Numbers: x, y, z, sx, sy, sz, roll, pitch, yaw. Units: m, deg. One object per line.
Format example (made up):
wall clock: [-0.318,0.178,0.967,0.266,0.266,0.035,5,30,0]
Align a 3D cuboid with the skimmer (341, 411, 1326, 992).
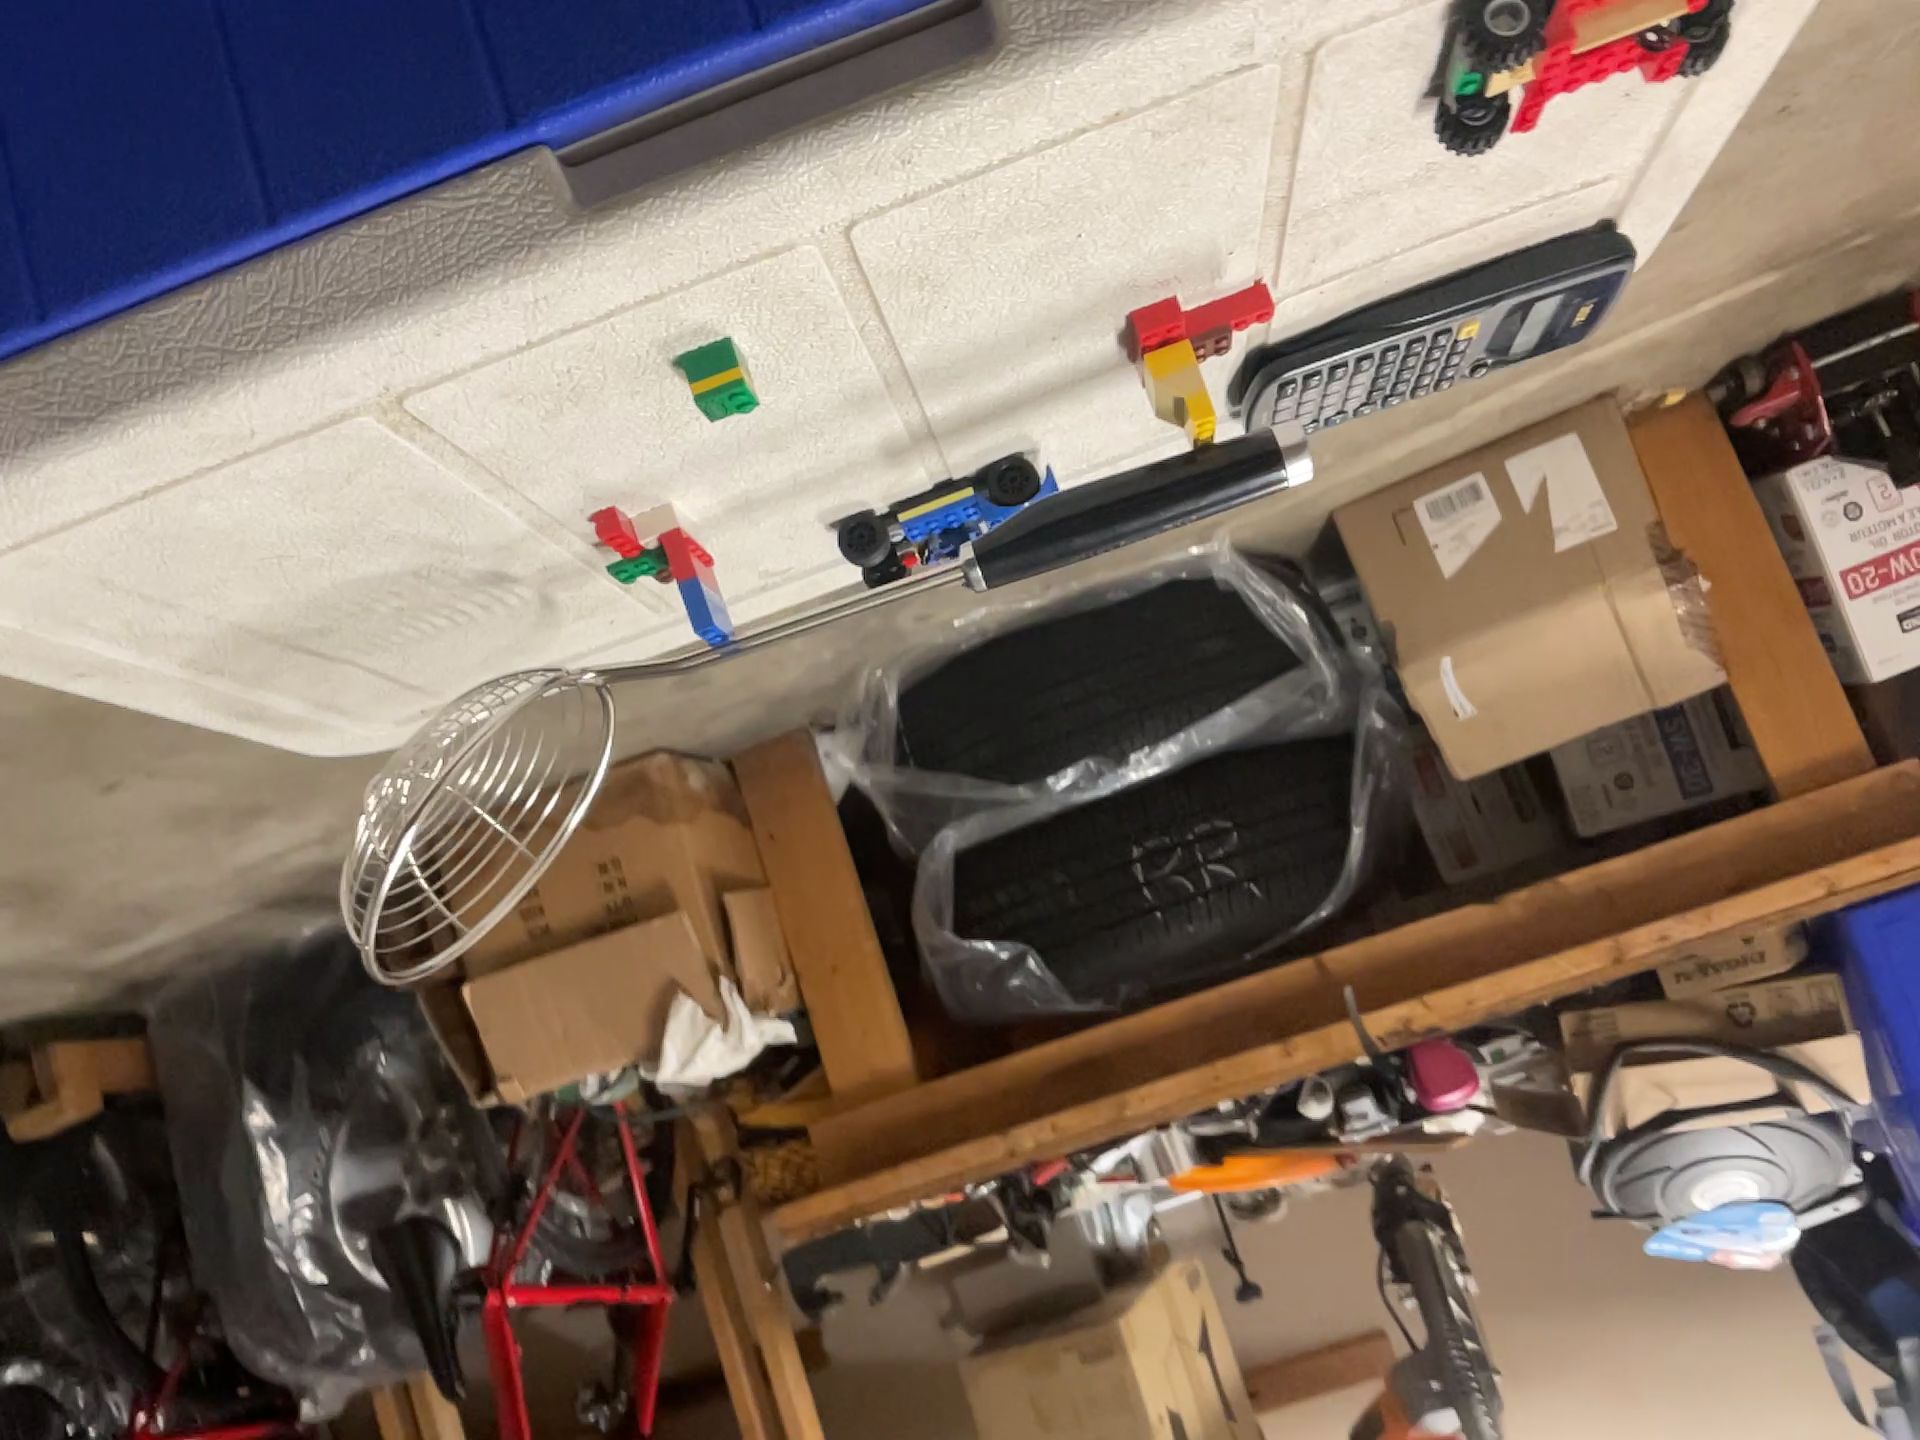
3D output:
skimmer: [-0.041,-0.006,0.548,0.363,0.090,0.127,-19,171,5]
